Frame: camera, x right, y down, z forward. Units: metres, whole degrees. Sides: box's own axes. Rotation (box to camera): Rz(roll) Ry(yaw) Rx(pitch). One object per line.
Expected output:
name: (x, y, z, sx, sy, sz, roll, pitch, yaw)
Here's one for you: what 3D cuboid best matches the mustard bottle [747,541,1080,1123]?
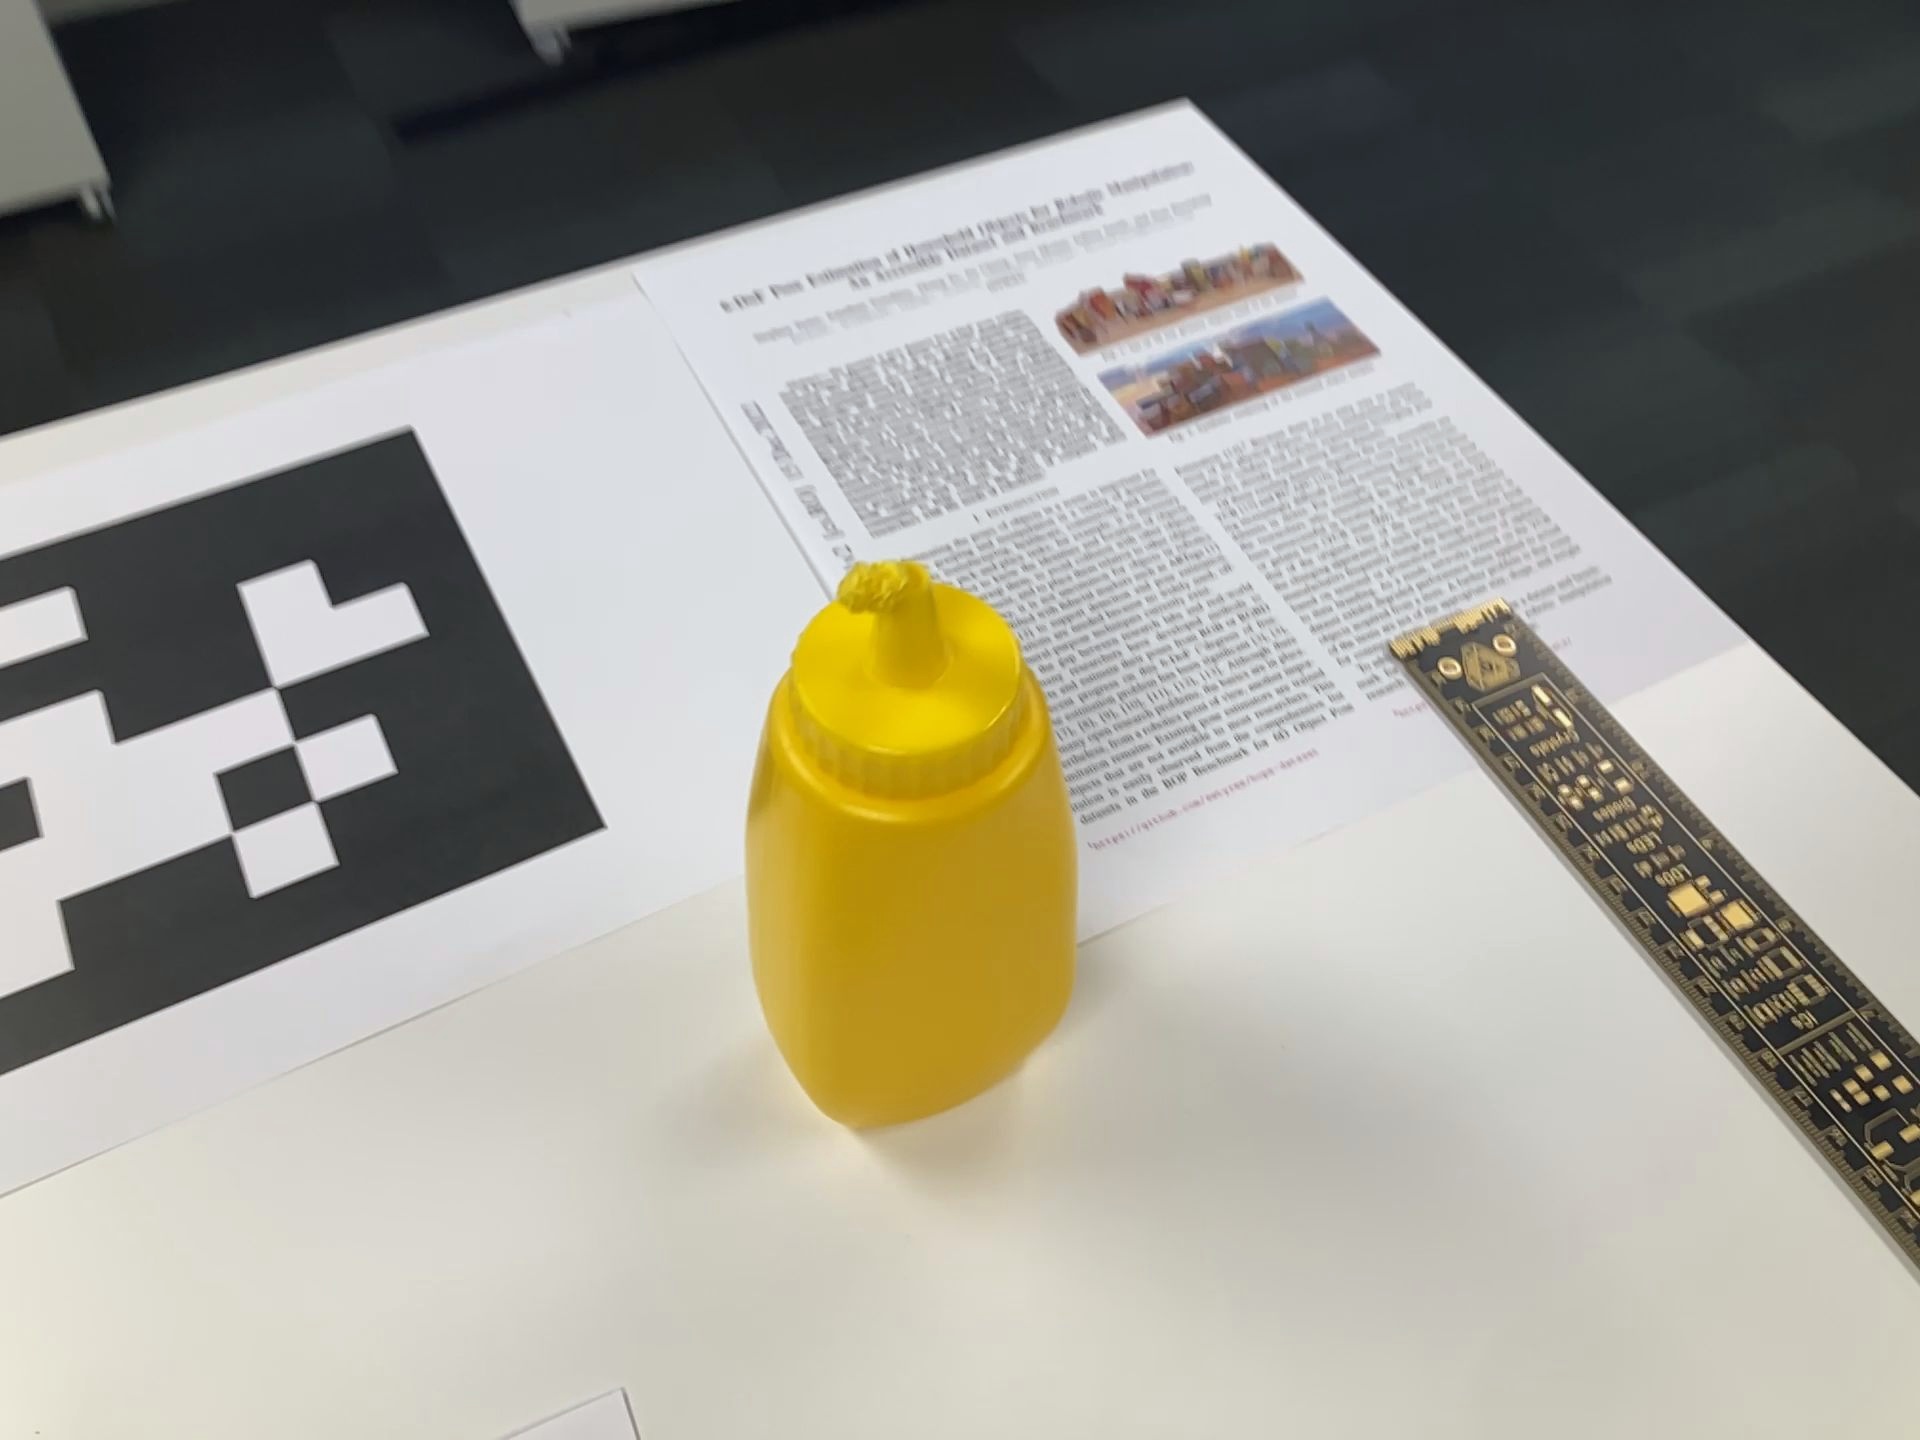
mustard bottle: (-0.008, 0.021, 0.298, 0.065, 0.160, 0.049, -18, 54, -16)
